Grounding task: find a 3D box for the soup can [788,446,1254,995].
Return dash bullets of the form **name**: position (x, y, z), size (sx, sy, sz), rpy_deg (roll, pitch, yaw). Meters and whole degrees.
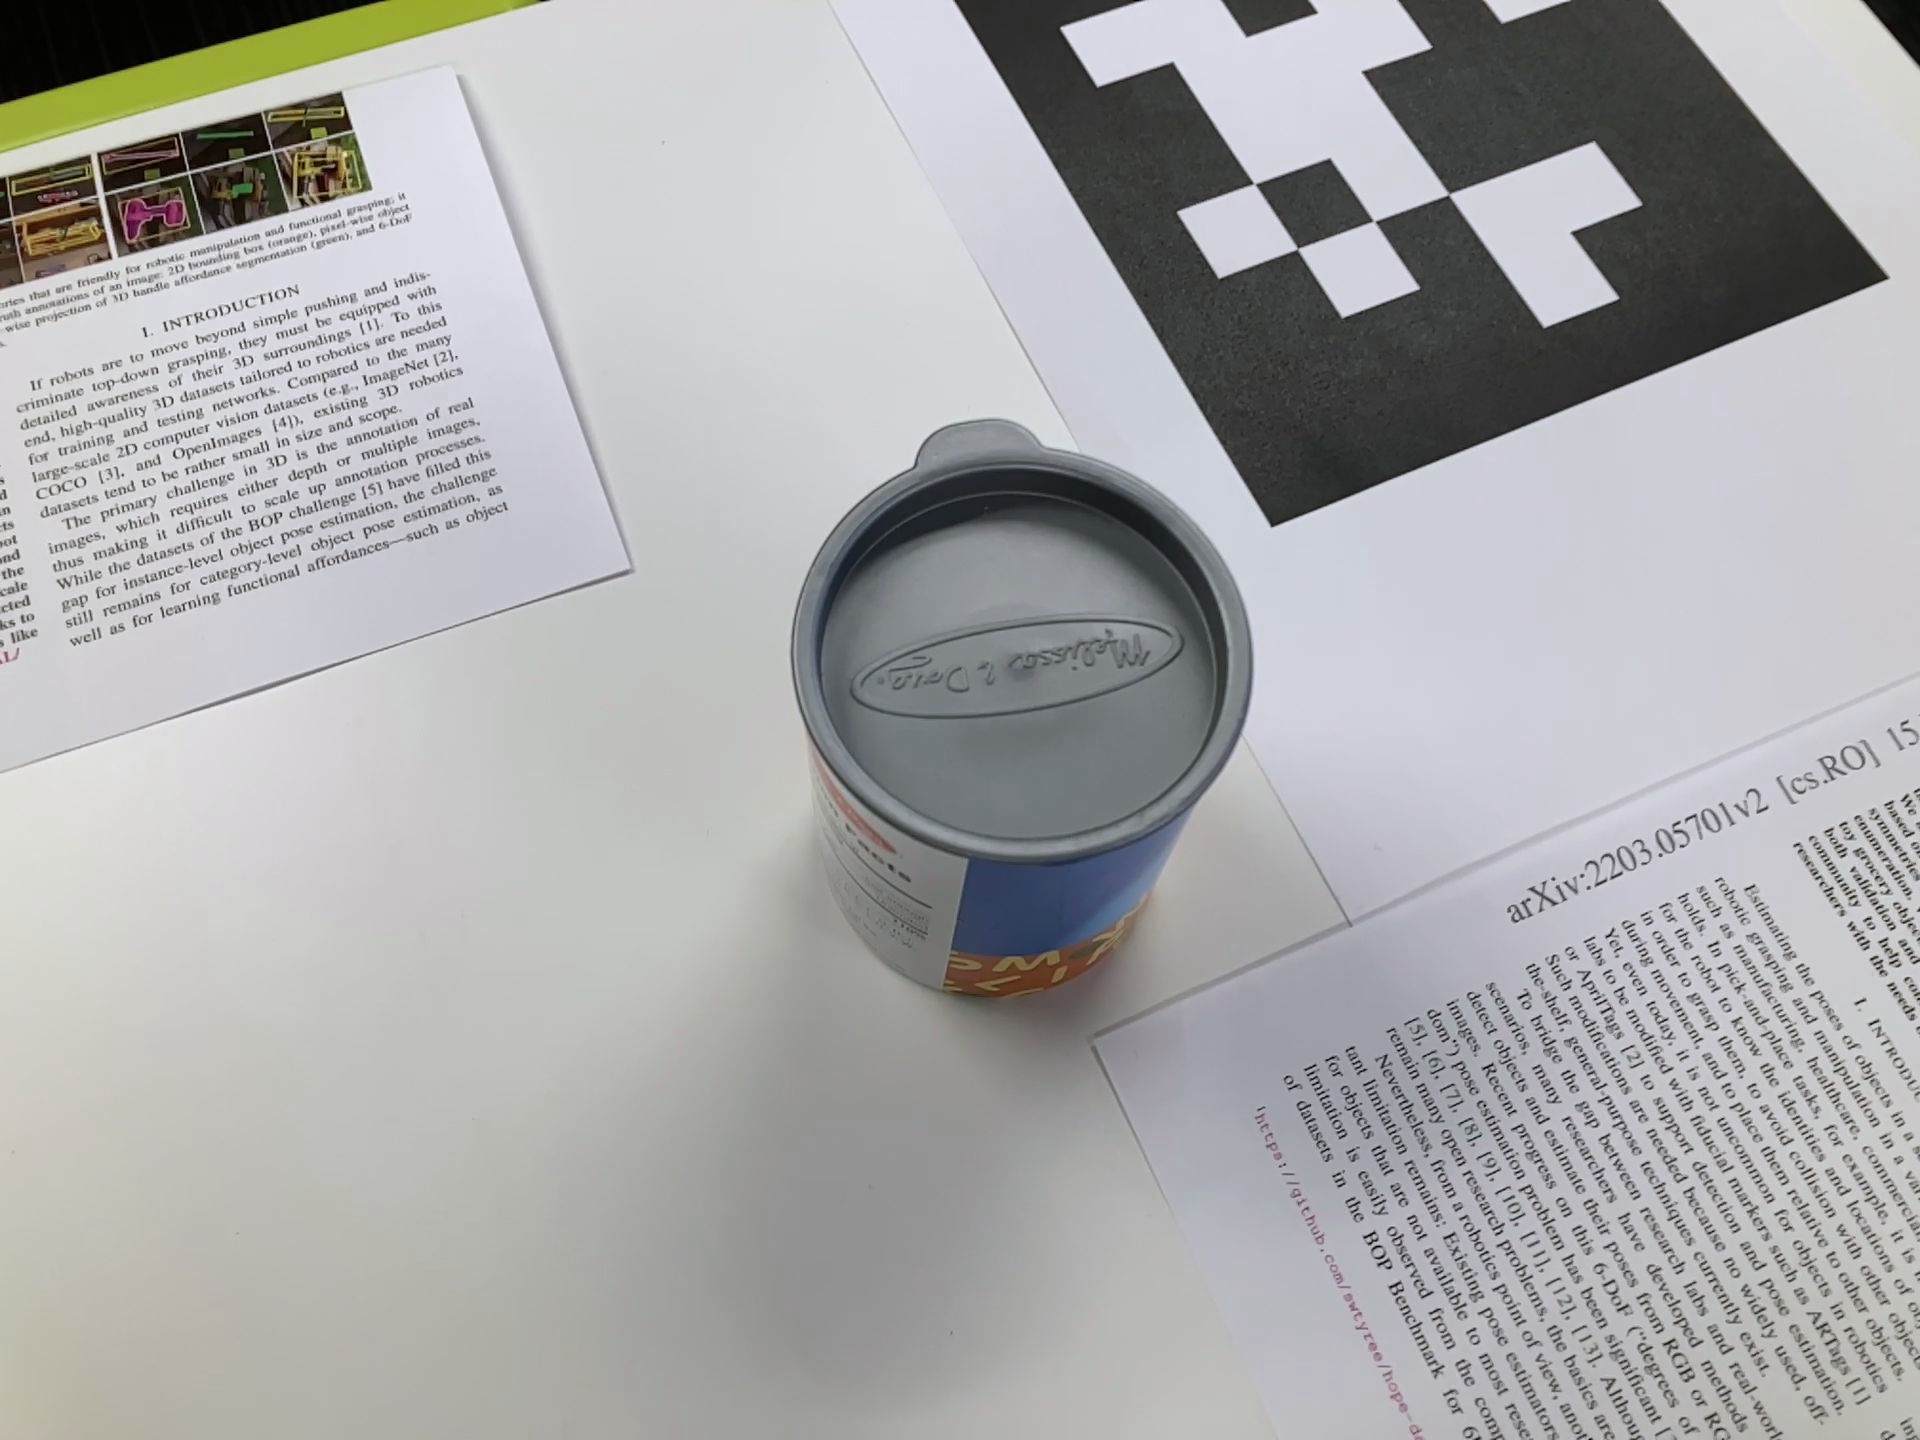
- **soup can**: position (0.010, 0.003, 0.265), size (0.071, 0.084, 0.071), rpy_deg (1, 67, -2)
